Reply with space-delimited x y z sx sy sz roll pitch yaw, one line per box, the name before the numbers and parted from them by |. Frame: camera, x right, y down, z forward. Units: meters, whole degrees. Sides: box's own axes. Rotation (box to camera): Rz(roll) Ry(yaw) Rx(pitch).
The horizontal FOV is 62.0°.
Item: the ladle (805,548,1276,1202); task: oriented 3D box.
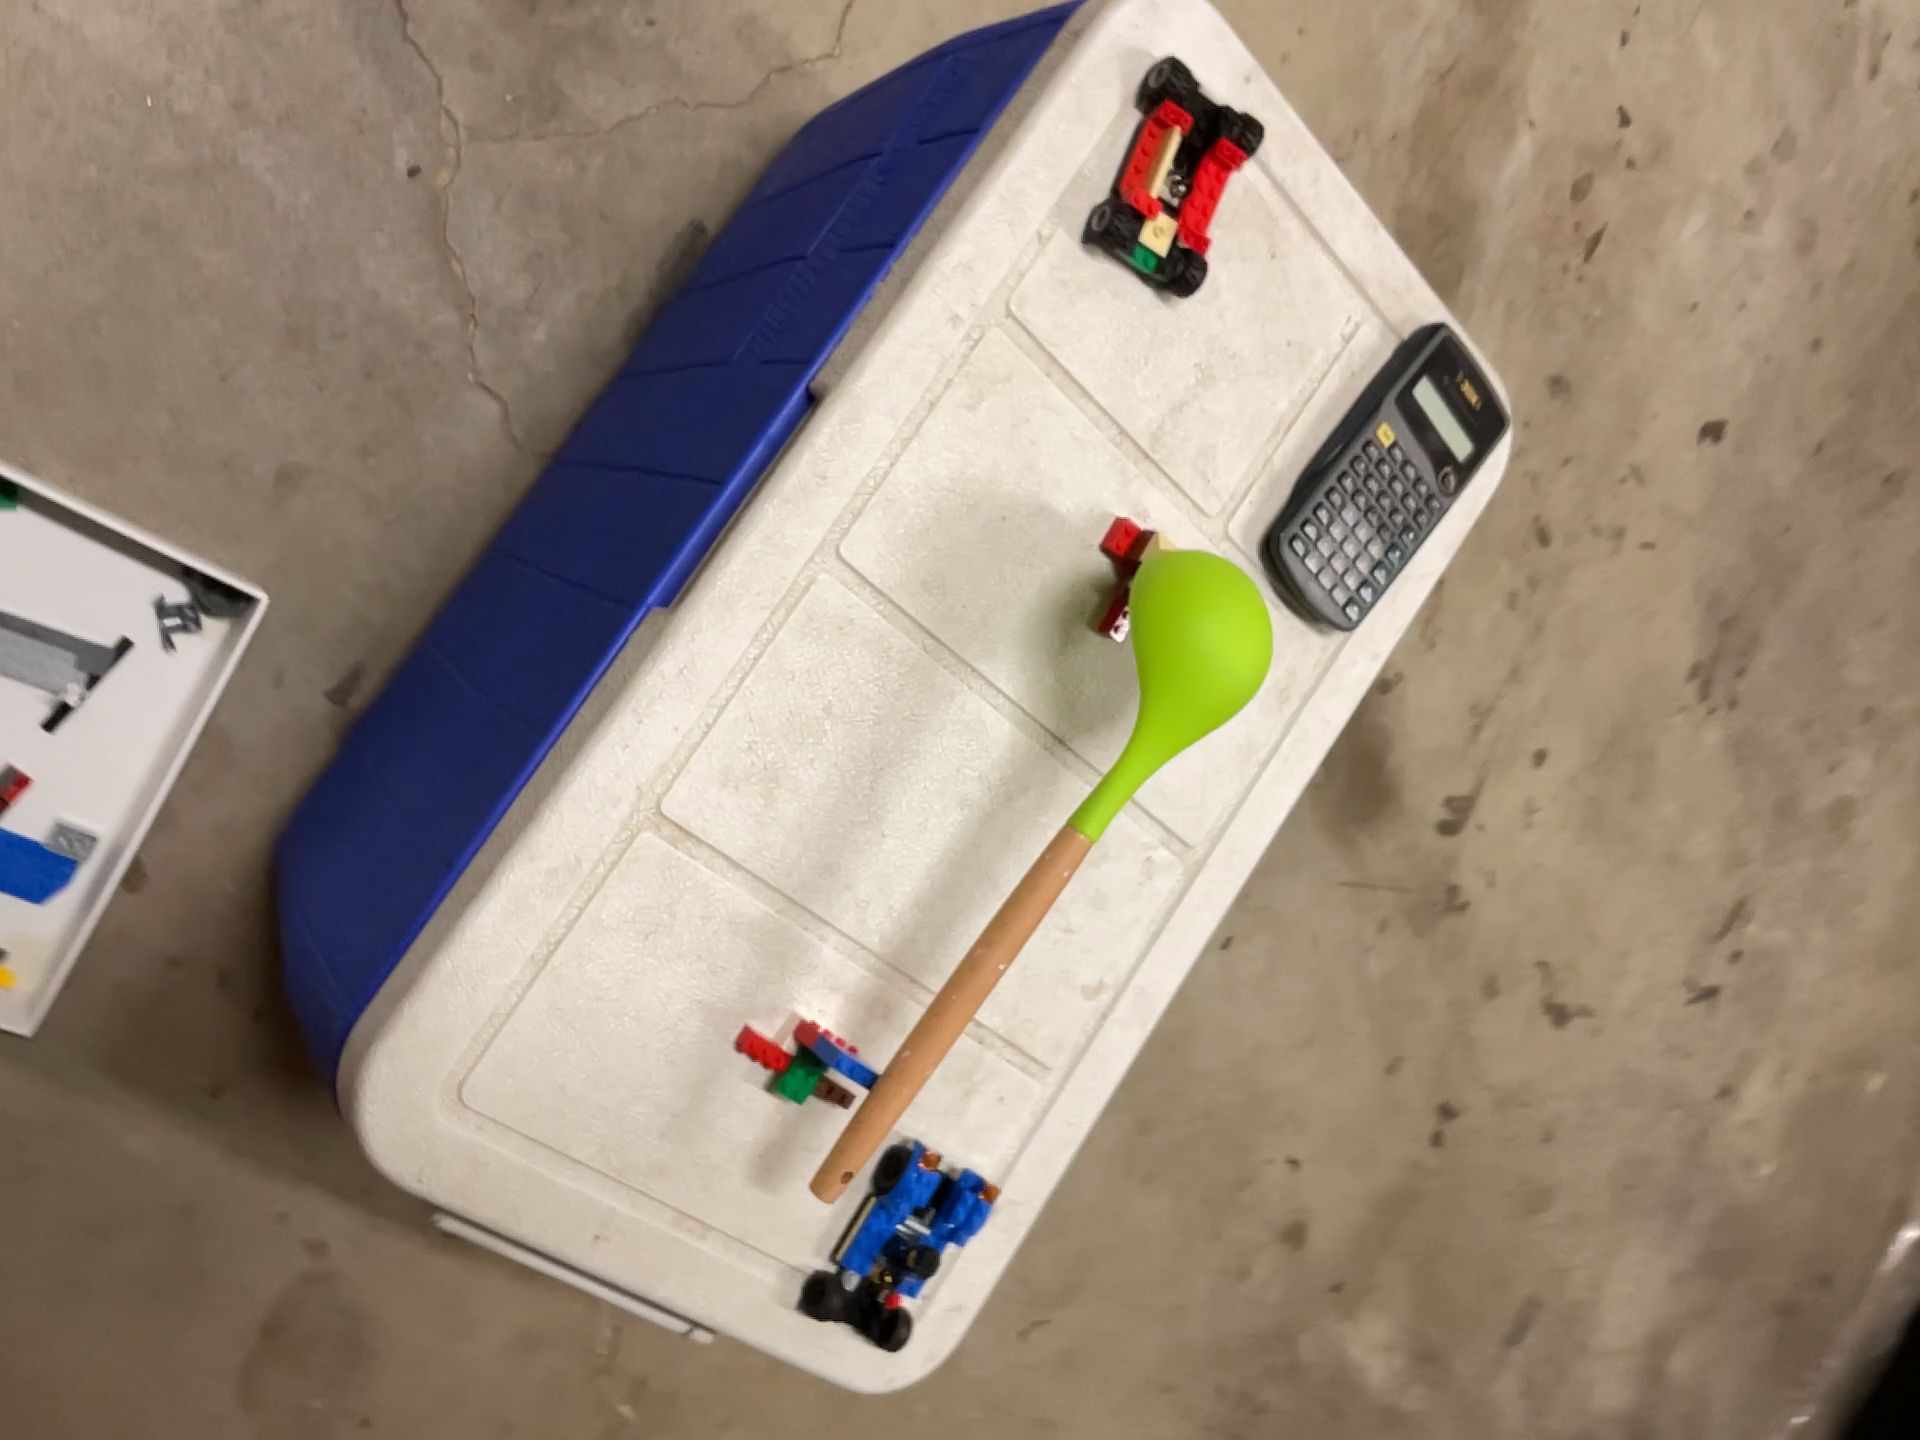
ladle | 0.029 0.064 0.680 0.078 0.062 0.320 38 88 -38
